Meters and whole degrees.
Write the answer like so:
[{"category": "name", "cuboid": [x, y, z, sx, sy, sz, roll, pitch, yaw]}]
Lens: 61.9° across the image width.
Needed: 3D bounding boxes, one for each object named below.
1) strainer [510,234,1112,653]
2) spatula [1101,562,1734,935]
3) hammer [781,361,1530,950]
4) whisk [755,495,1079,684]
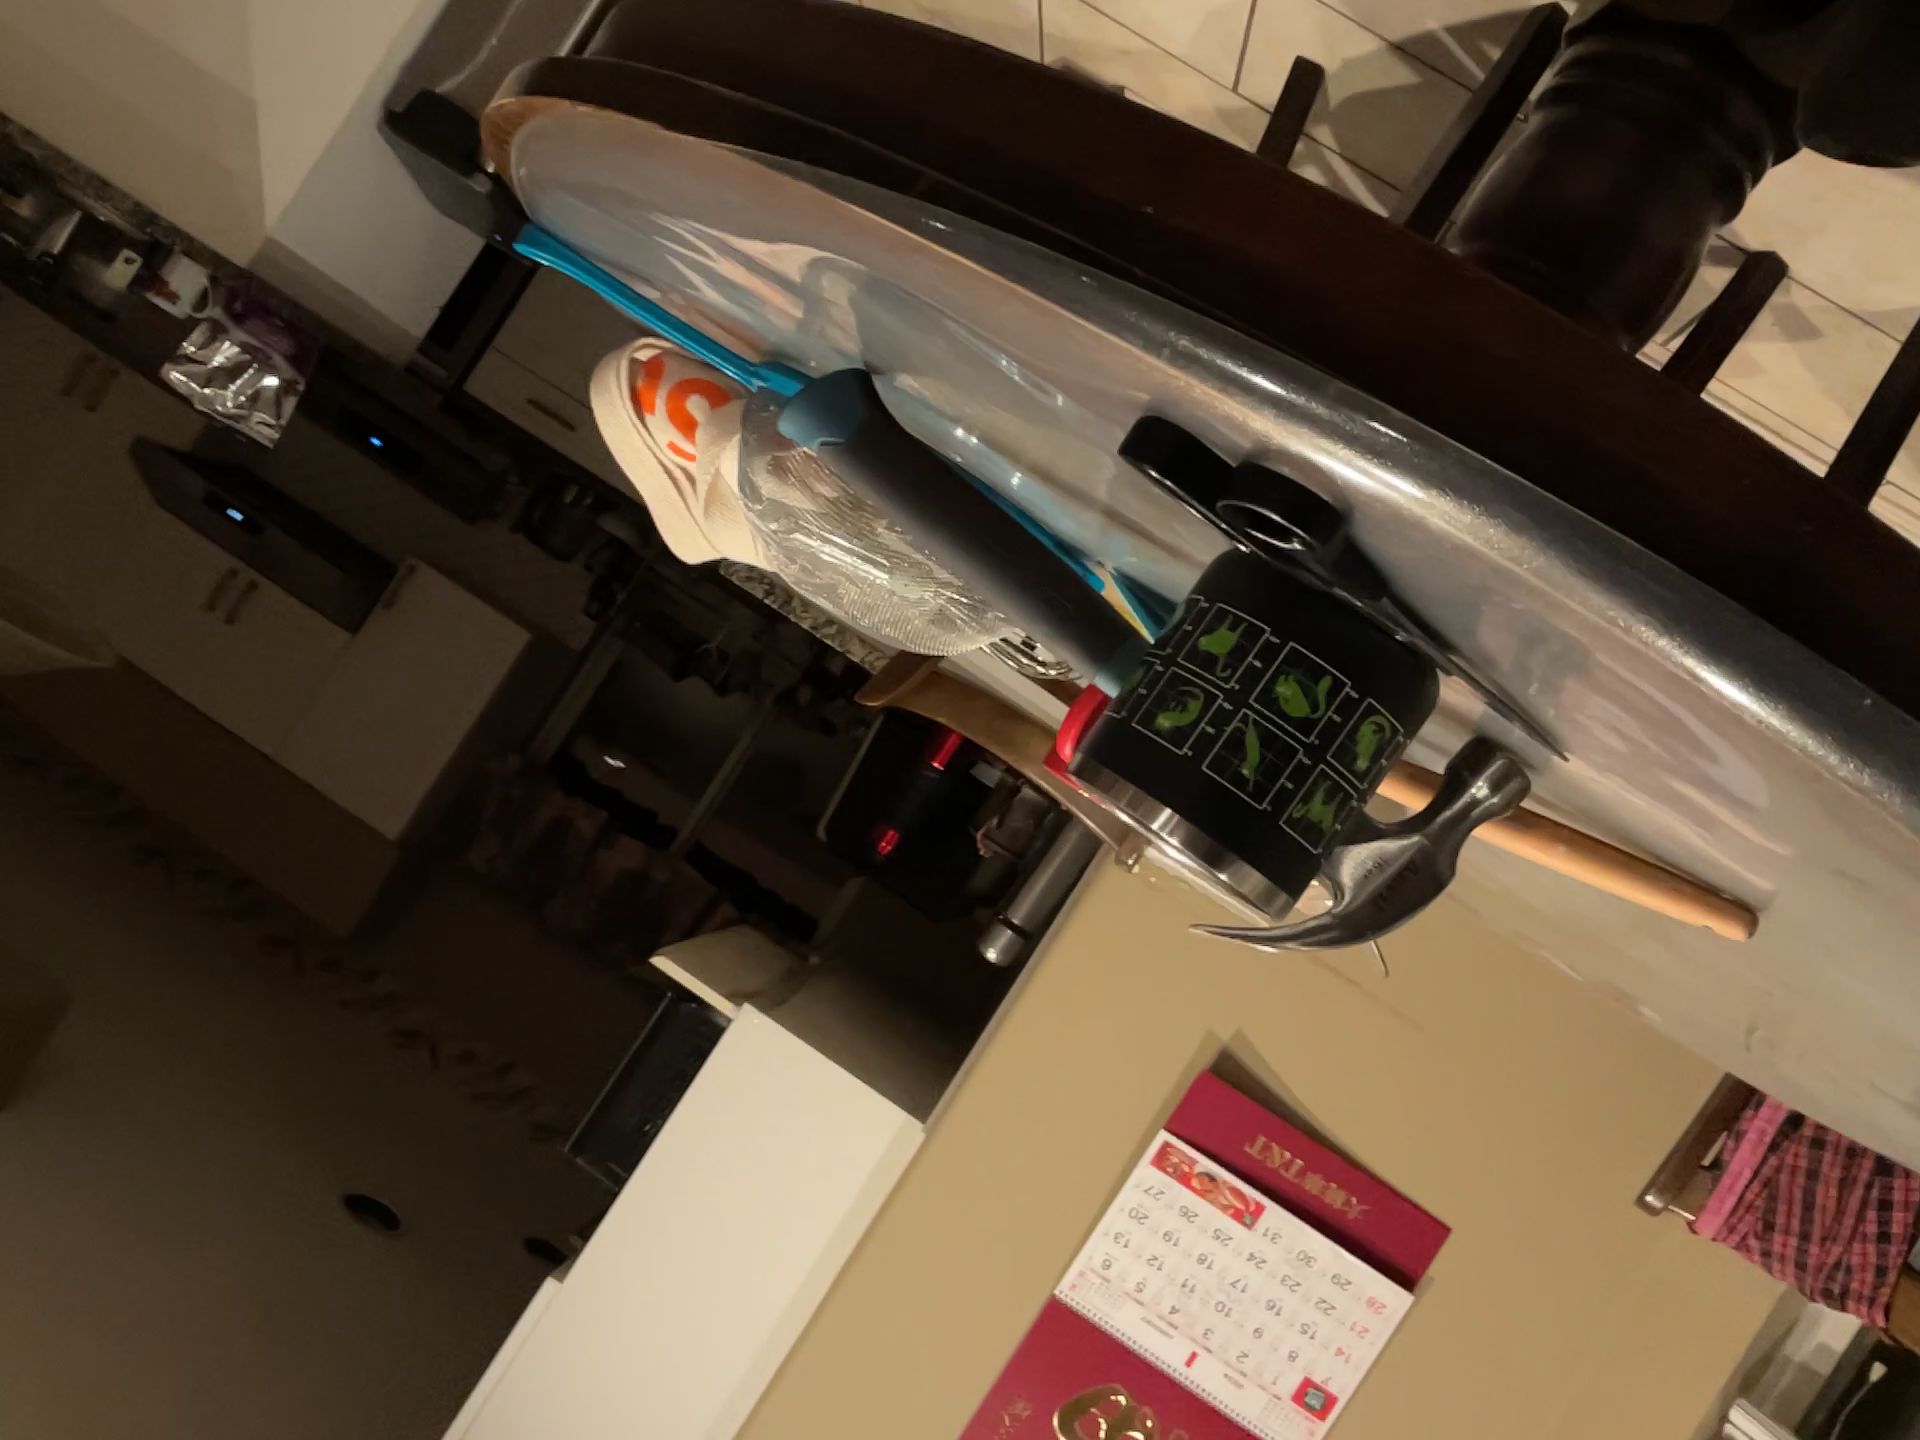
[{"category": "strainer", "cuboid": [-0.095, -0.126, 0.837, 0.340, 0.095, 0.211, 29, 179, -11]}, {"category": "spatula", "cuboid": [0.184, 0.011, 0.700, 0.317, 0.044, 0.082, 28, 175, 39]}, {"category": "hammer", "cuboid": [0.056, -0.036, 0.645, 0.331, 0.128, 0.033, 42, 179, 15]}, {"category": "whisk", "cuboid": [-0.021, -0.084, 1.037, 0.246, 0.057, 0.059, 25, -147, -21]}]
